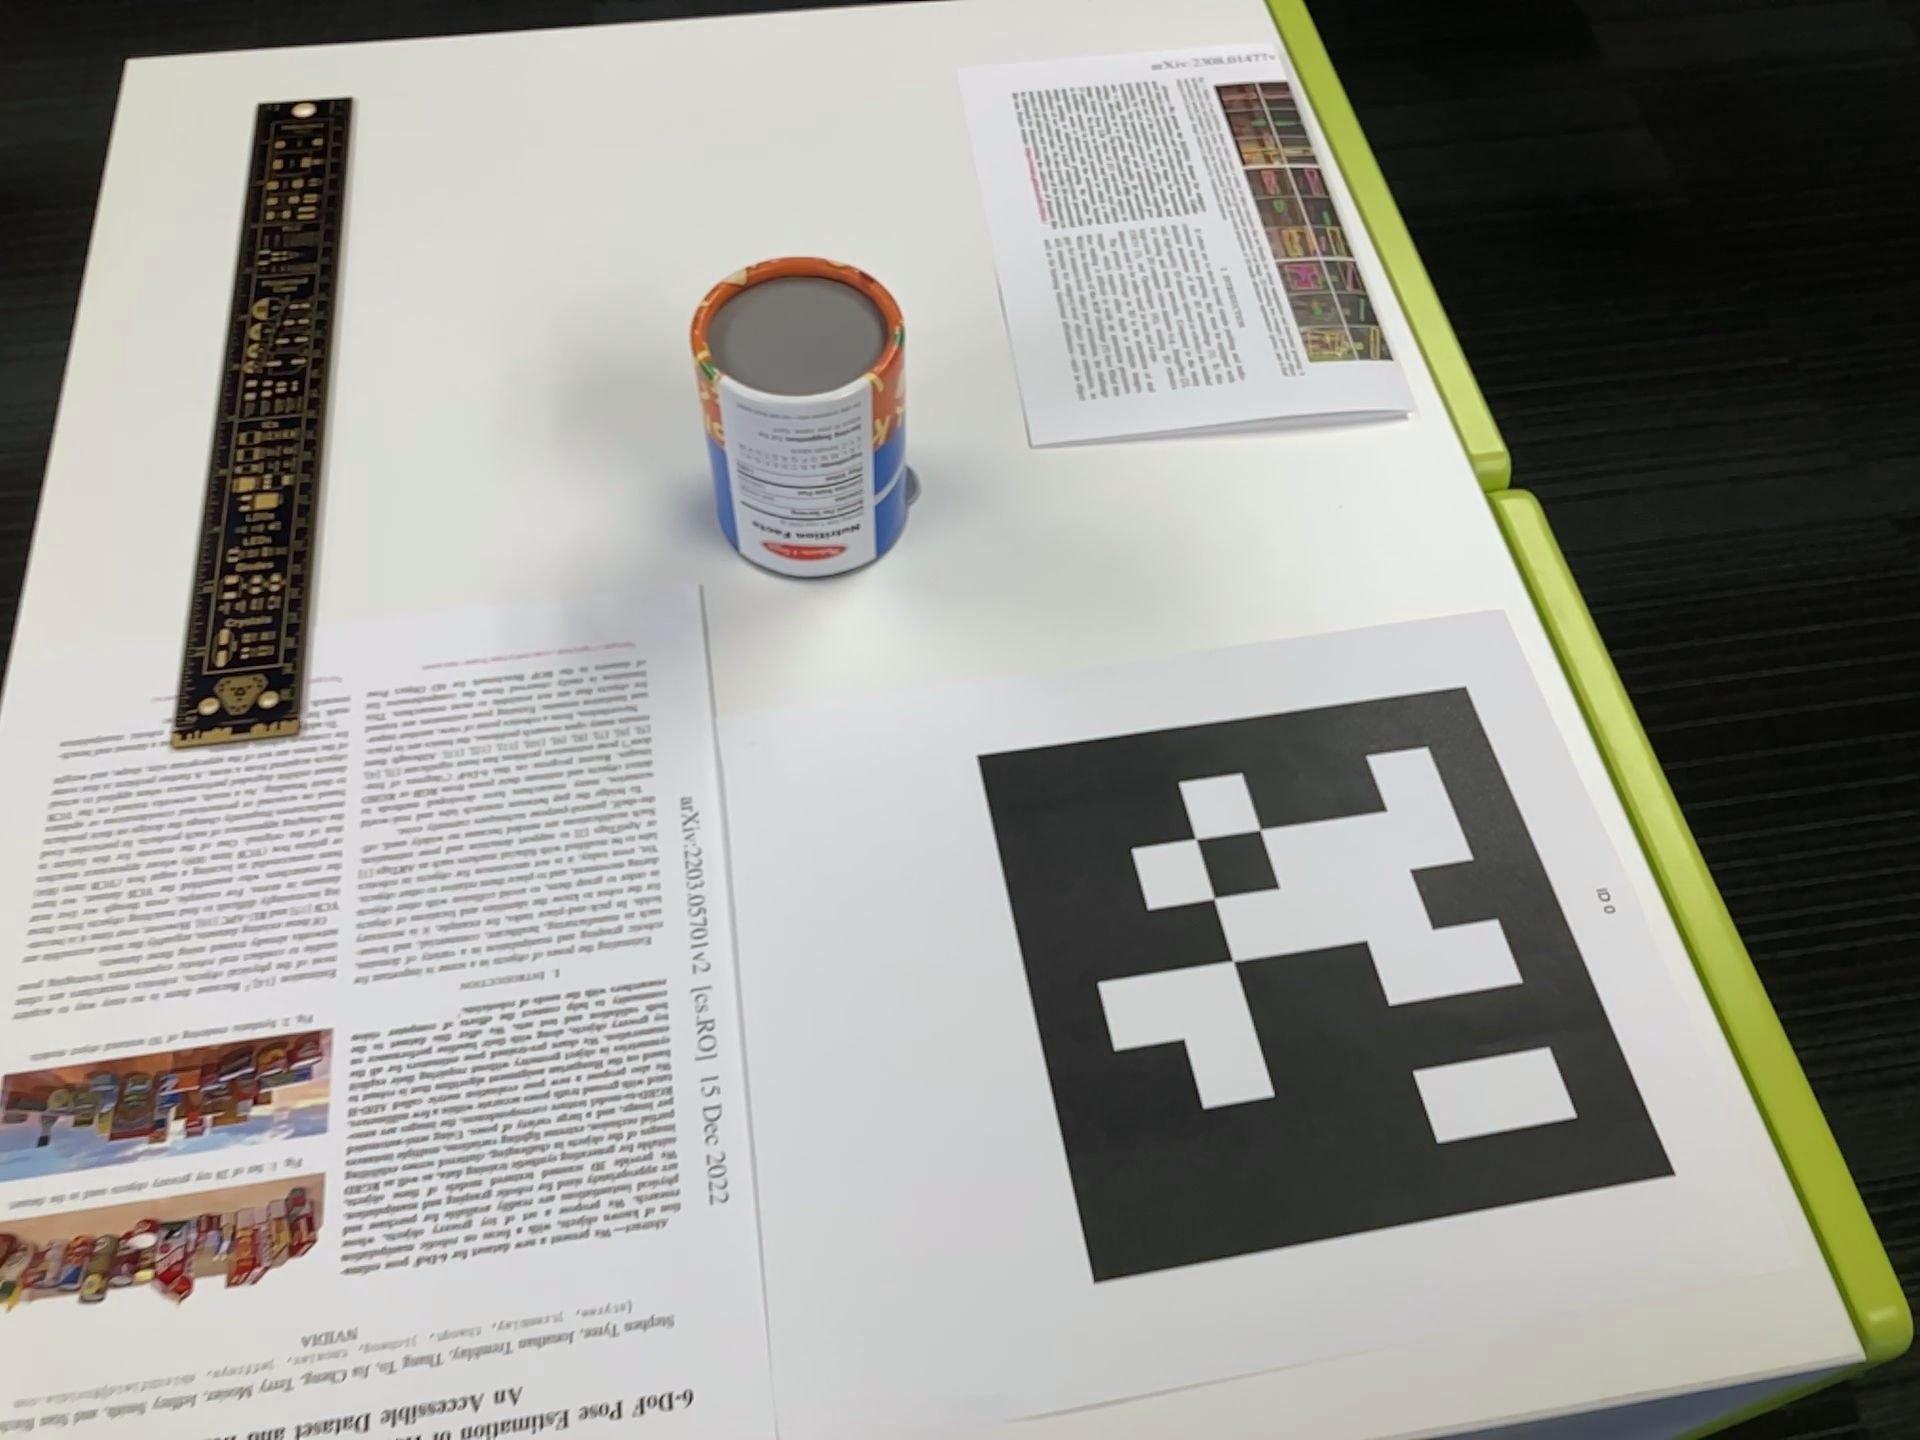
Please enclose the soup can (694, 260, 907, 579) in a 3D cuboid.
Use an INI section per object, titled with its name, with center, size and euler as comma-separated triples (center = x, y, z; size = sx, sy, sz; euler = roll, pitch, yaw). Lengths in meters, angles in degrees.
[soup can]
center = -0.051, -0.101, 0.526
size = 0.071, 0.084, 0.071
euler = 1, 56, -2
